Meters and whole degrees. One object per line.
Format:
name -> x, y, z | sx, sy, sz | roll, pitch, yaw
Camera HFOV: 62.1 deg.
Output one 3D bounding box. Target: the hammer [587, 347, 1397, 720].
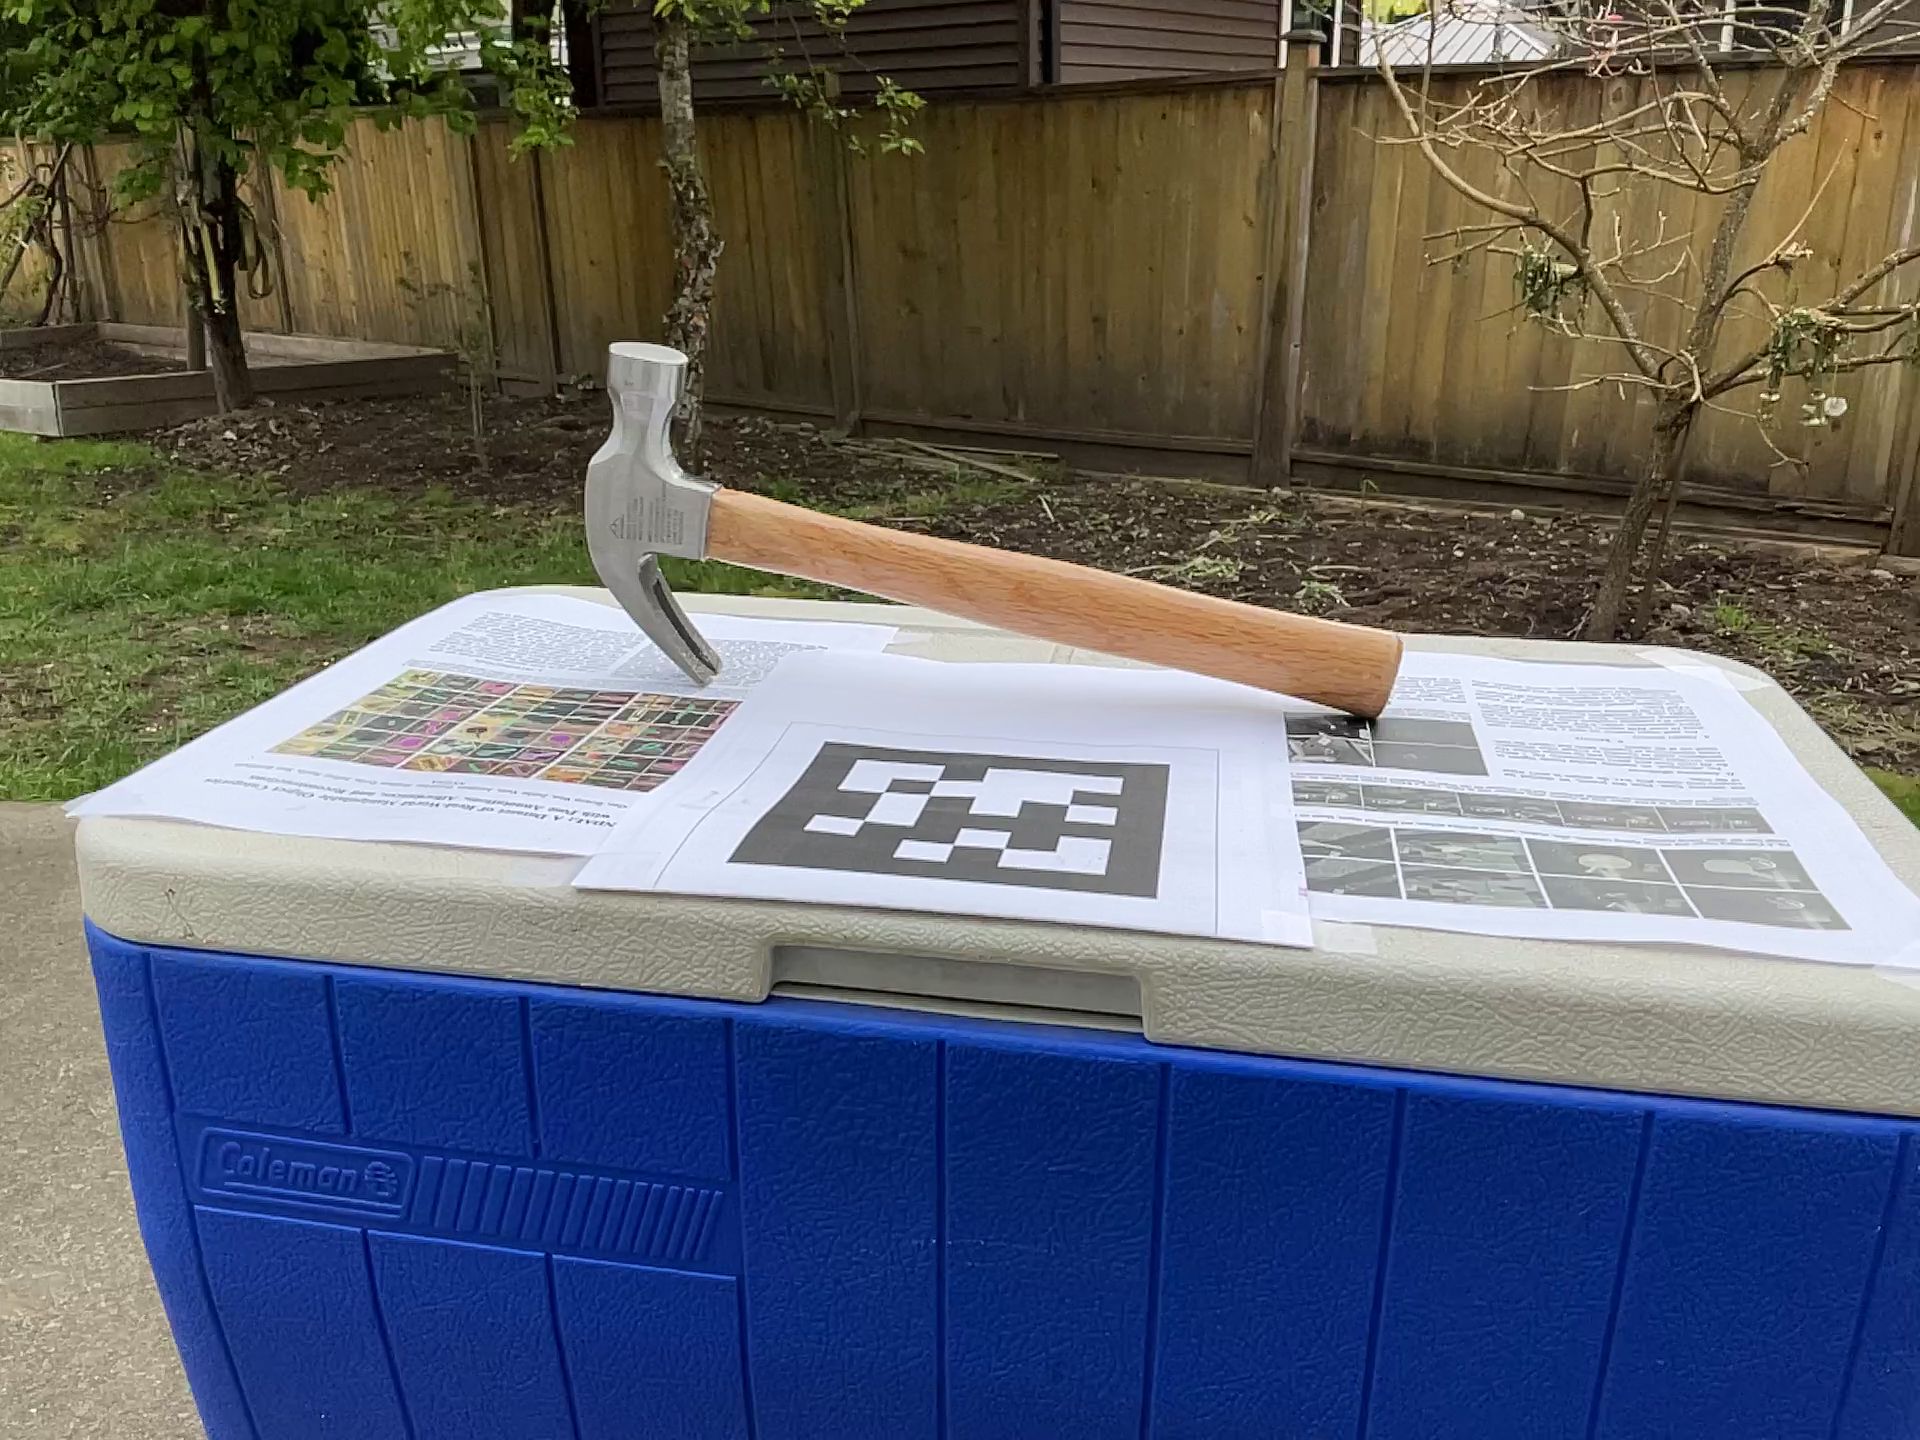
hammer -> 0.008, -0.052, 0.649 | 0.331, 0.130, 0.031 | 14, 22, 5
